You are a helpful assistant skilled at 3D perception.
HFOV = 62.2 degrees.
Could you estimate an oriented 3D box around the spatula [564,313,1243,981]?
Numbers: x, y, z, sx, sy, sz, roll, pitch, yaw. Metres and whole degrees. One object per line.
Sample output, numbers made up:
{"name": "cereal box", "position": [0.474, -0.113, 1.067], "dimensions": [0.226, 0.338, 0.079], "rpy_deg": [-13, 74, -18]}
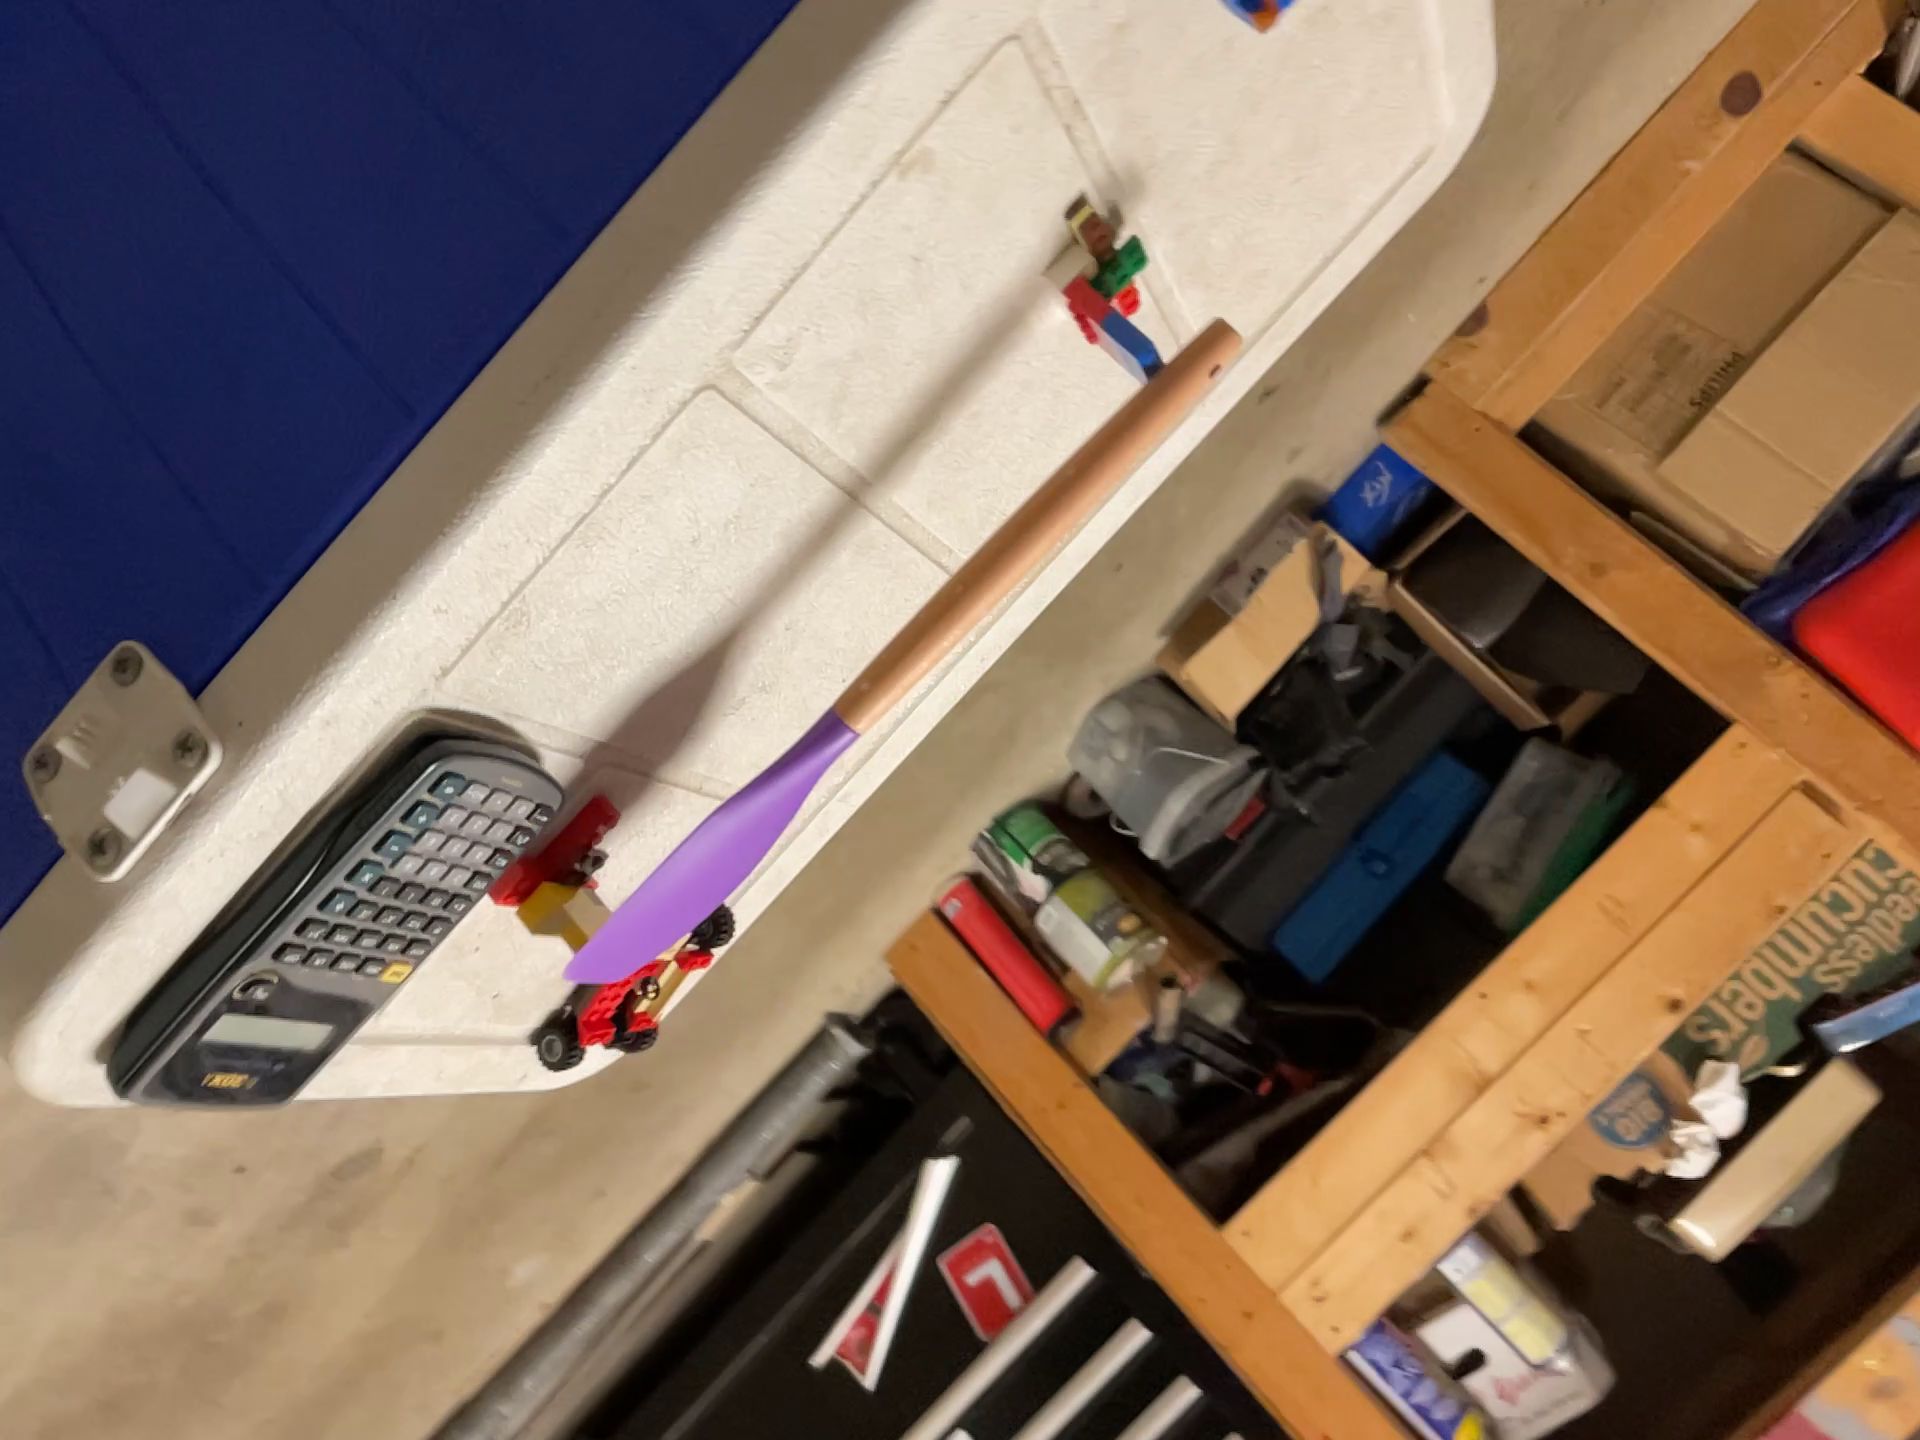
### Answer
{"name": "spatula", "position": [-0.020, -0.019, 0.549], "dimensions": [0.315, 0.018, 0.060], "rpy_deg": [-46, 157, 8]}
